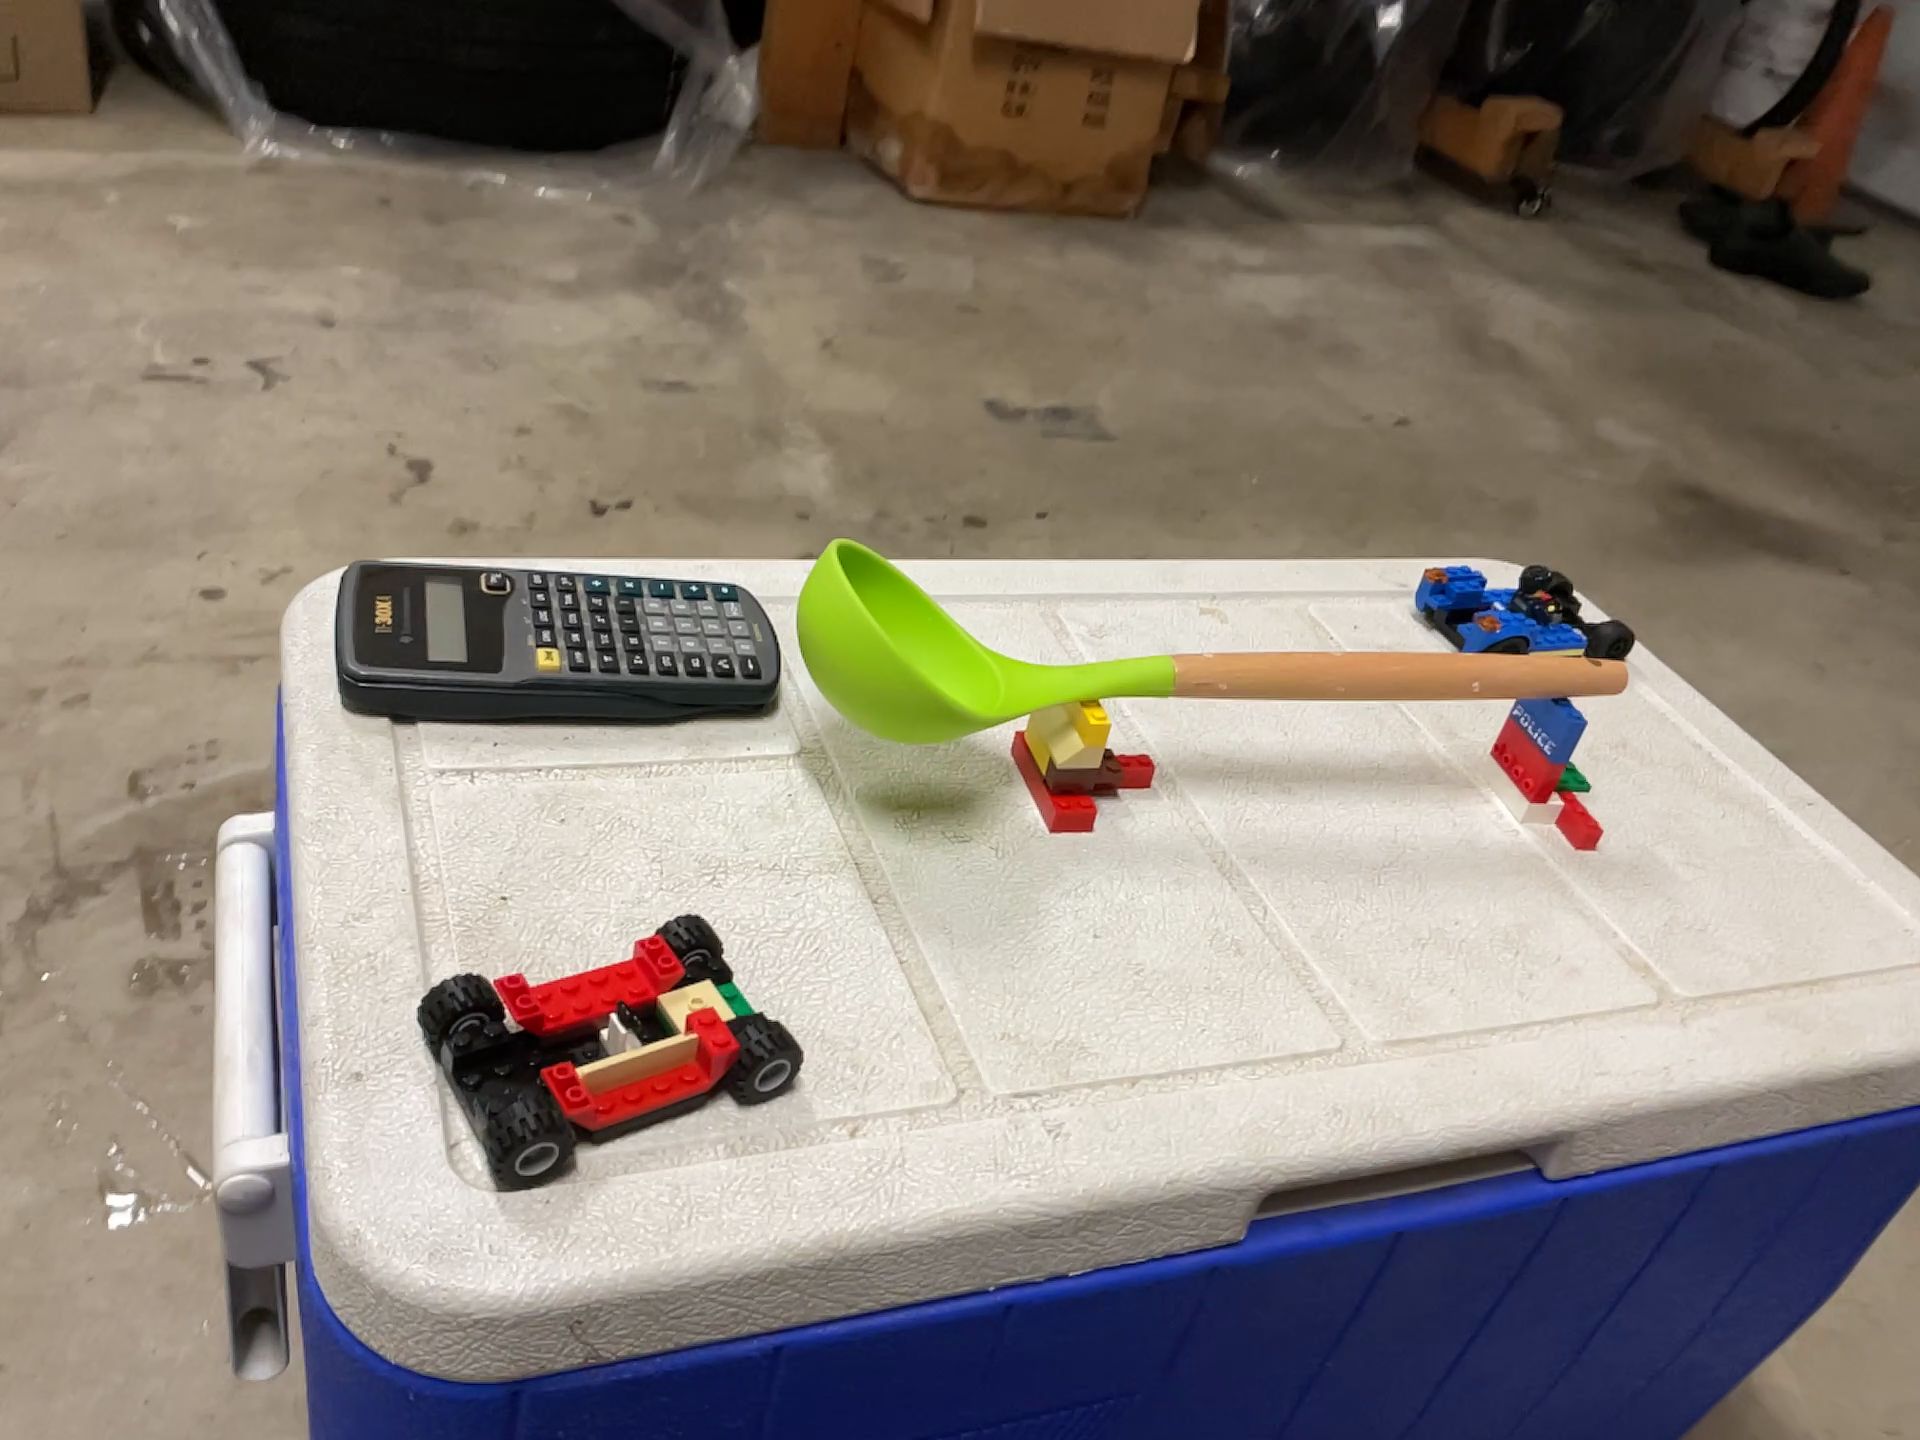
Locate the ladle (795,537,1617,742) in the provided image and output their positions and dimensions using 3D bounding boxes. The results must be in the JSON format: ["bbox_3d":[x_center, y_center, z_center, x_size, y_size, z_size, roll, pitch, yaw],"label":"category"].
[{"bbox_3d":[0.099,-0.025,0.565,0.320,0.062,0.078,0,35,-16],"label":"ladle"}]
